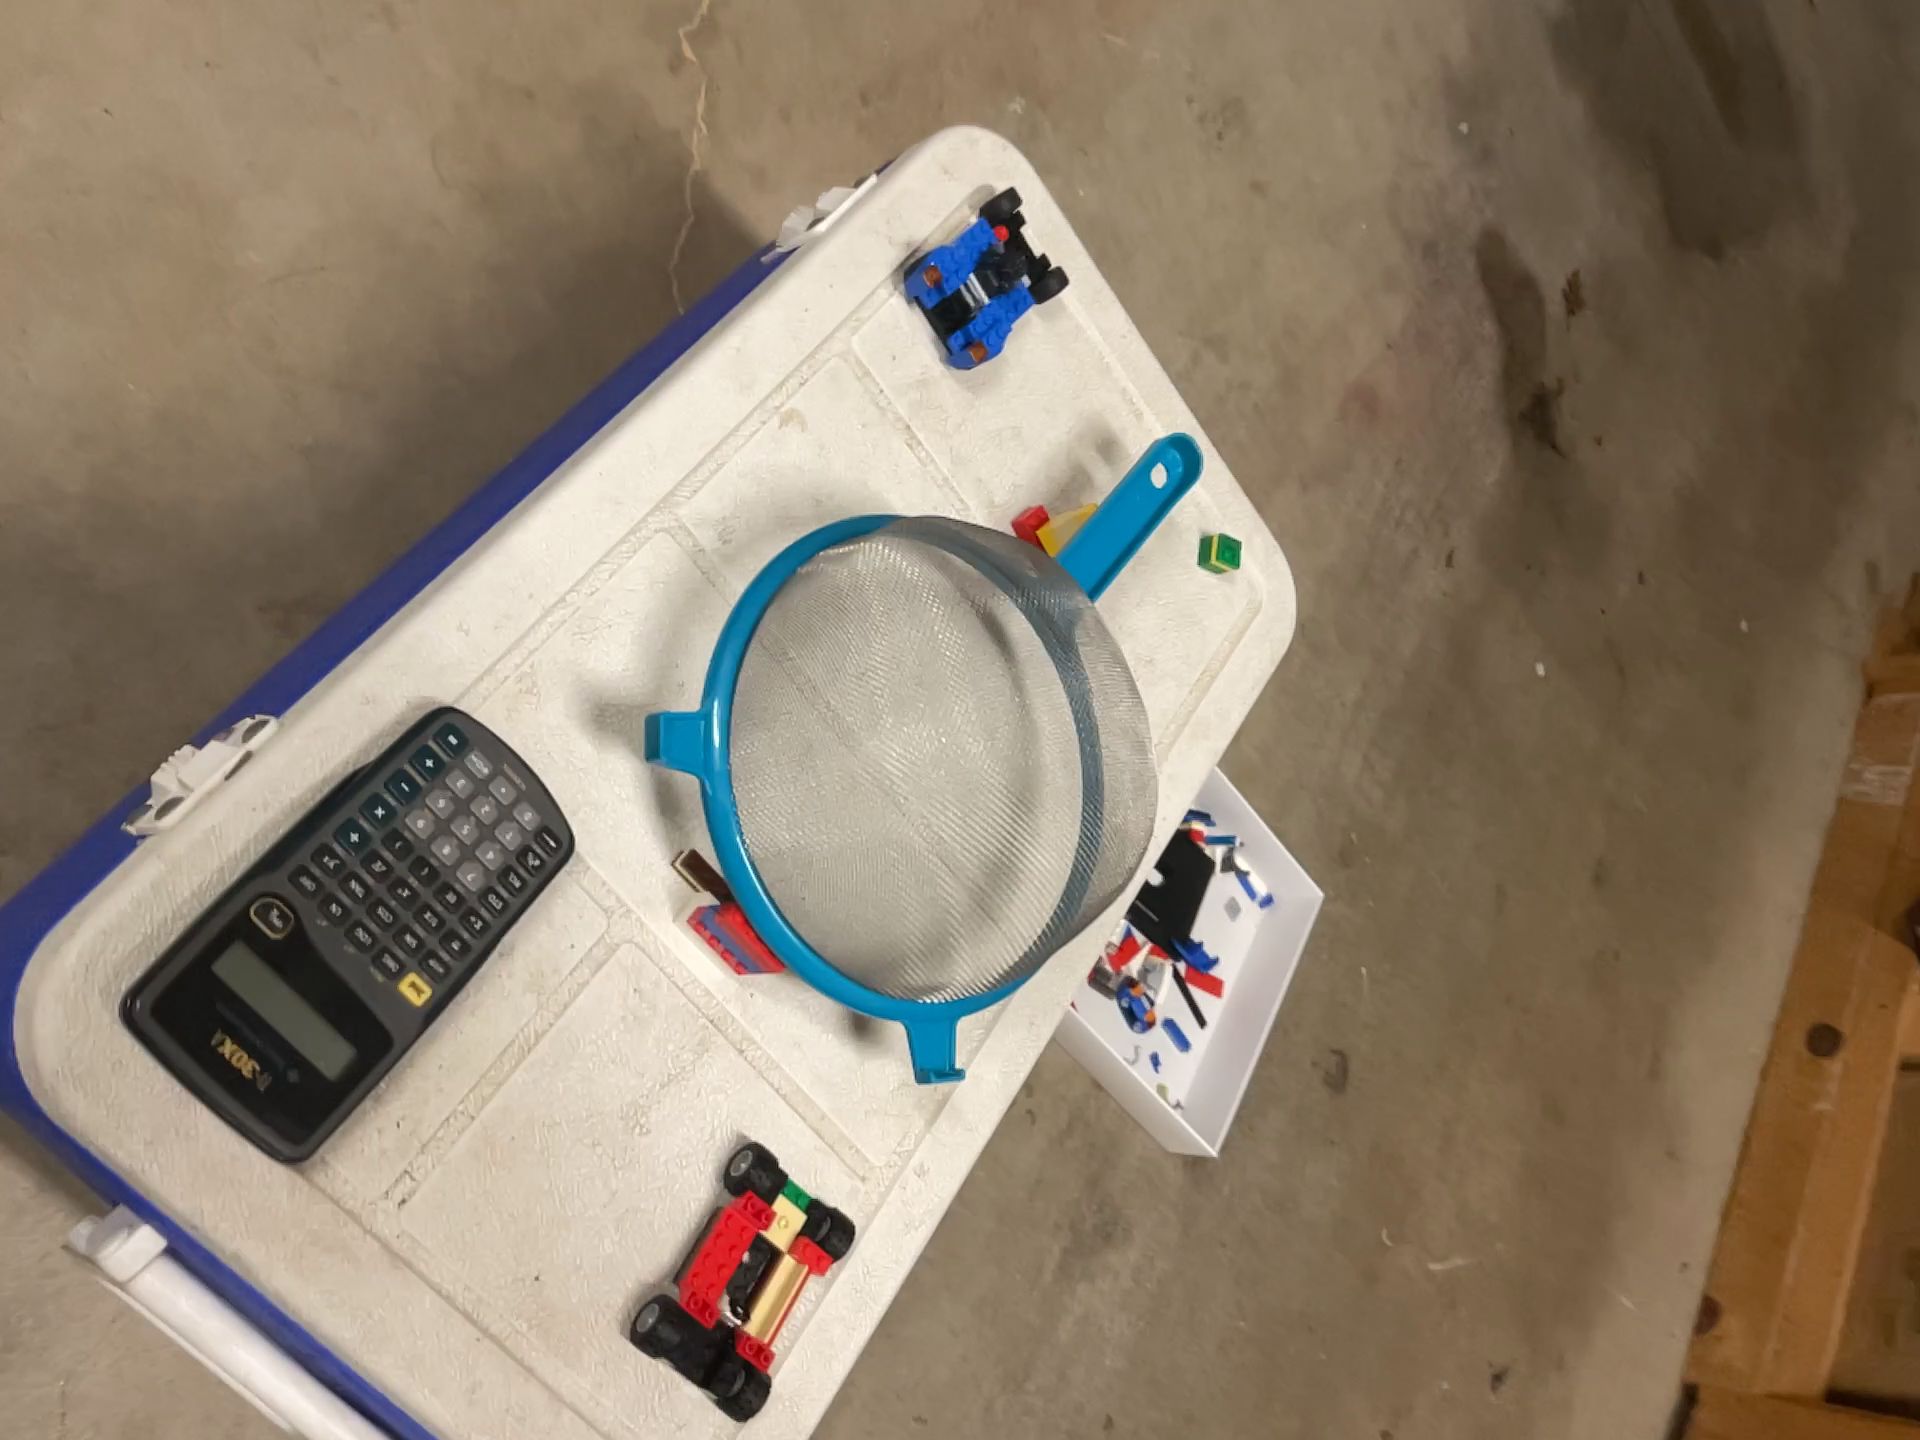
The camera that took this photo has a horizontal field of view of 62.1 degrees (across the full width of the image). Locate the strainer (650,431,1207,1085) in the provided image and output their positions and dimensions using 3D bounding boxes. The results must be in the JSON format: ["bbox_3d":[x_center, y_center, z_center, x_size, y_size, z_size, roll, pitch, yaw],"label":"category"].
[{"bbox_3d":[0.045,-0.028,0.665,0.211,0.095,0.341,53,54,-20],"label":"strainer"}]
